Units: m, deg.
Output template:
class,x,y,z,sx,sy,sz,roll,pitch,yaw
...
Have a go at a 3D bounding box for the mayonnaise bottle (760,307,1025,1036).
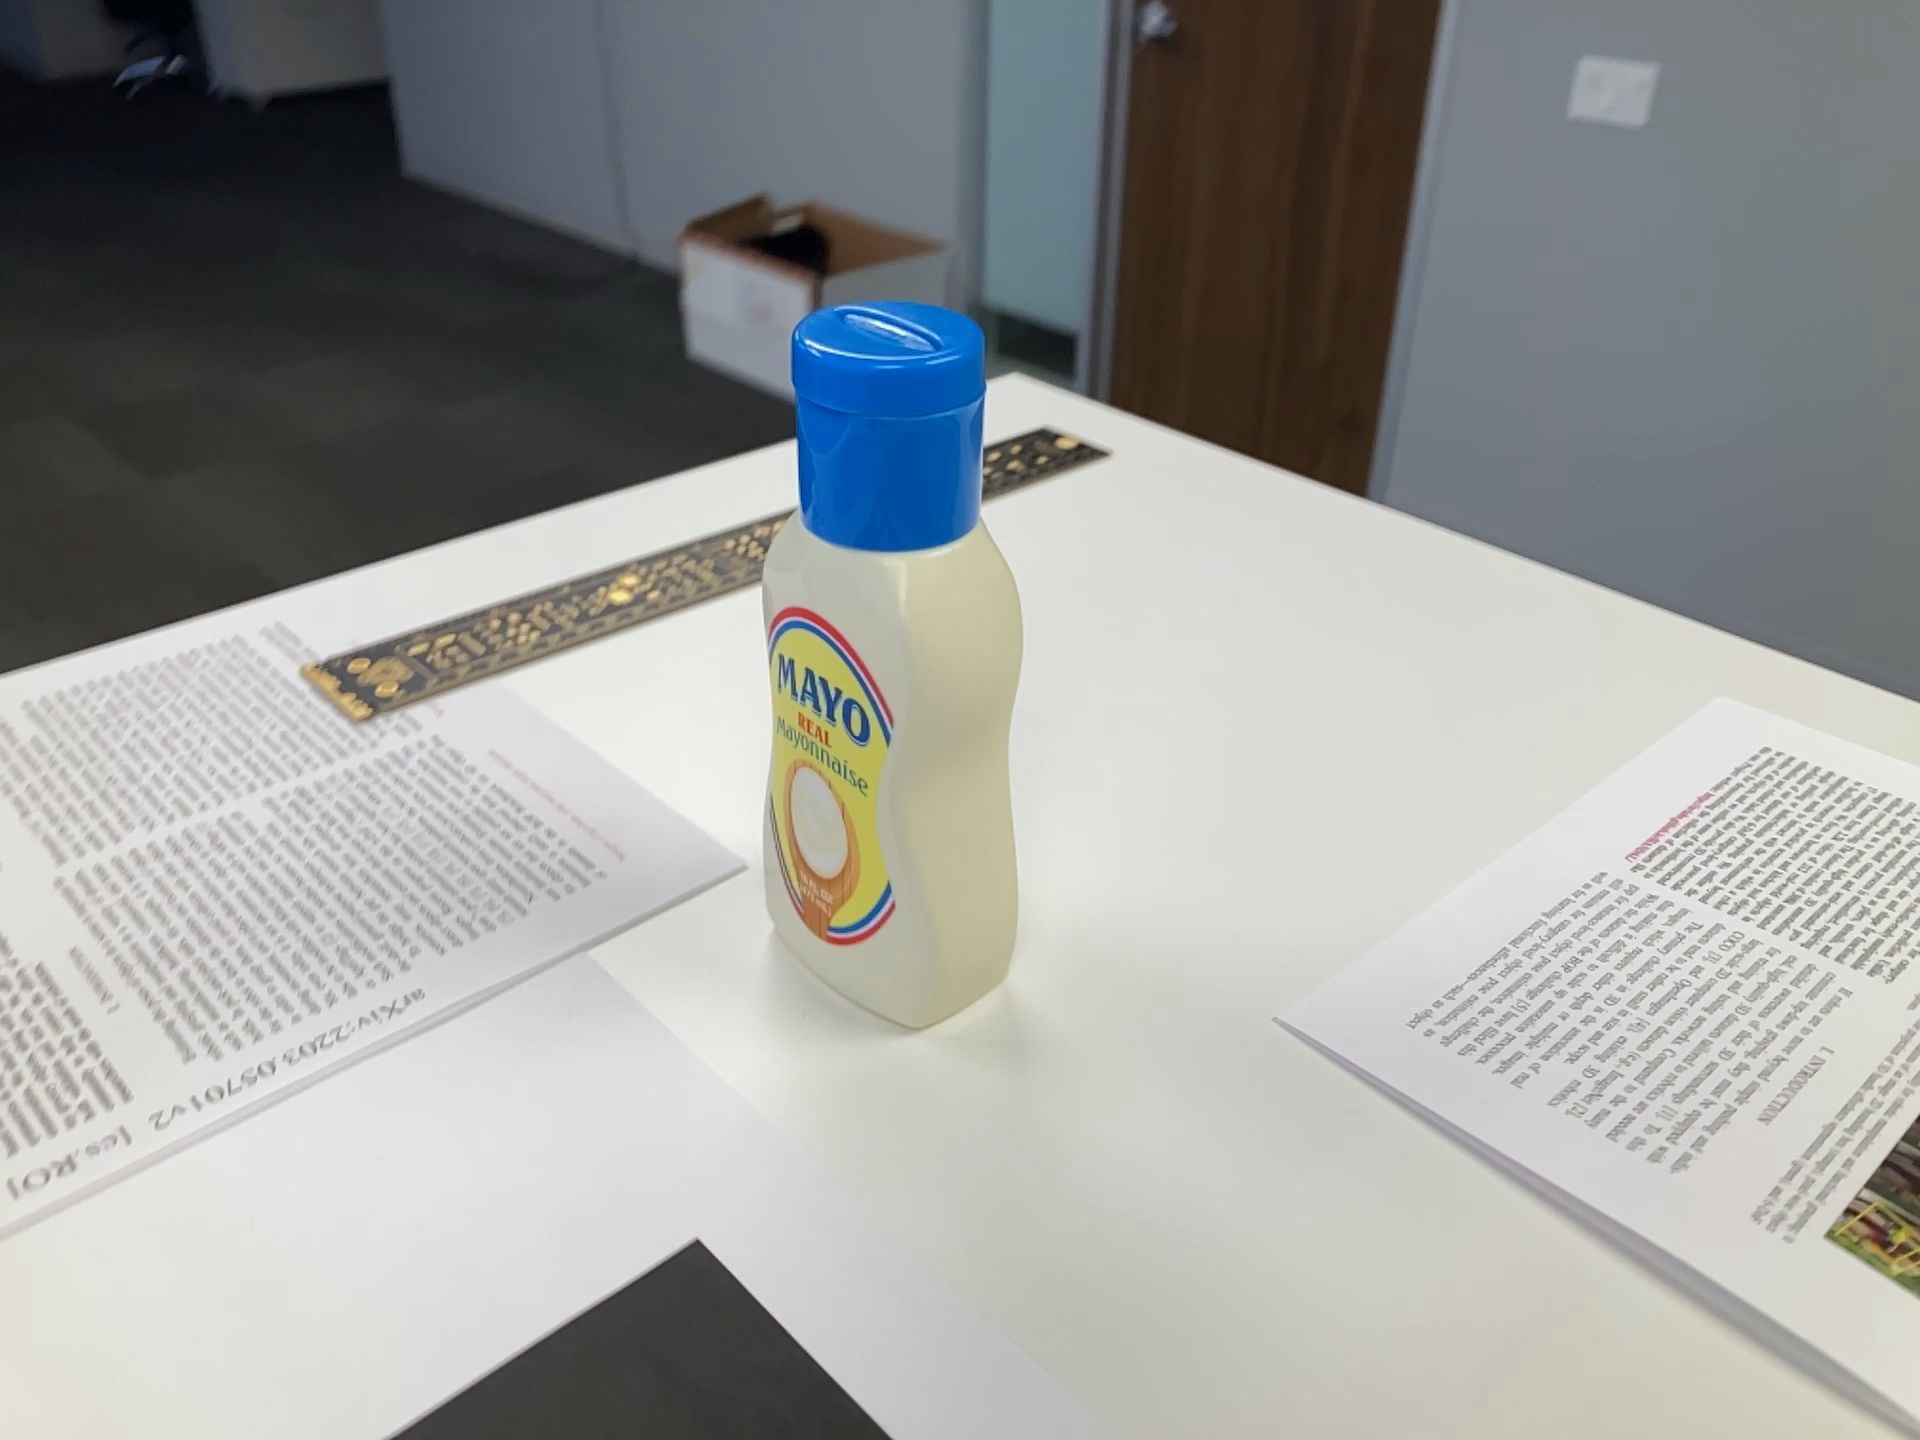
class,x,y,z,sx,sy,sz,roll,pitch,yaw
mayonnaise bottle,-0.016,-0.008,0.330,0.041,0.148,0.065,-25,40,-36
